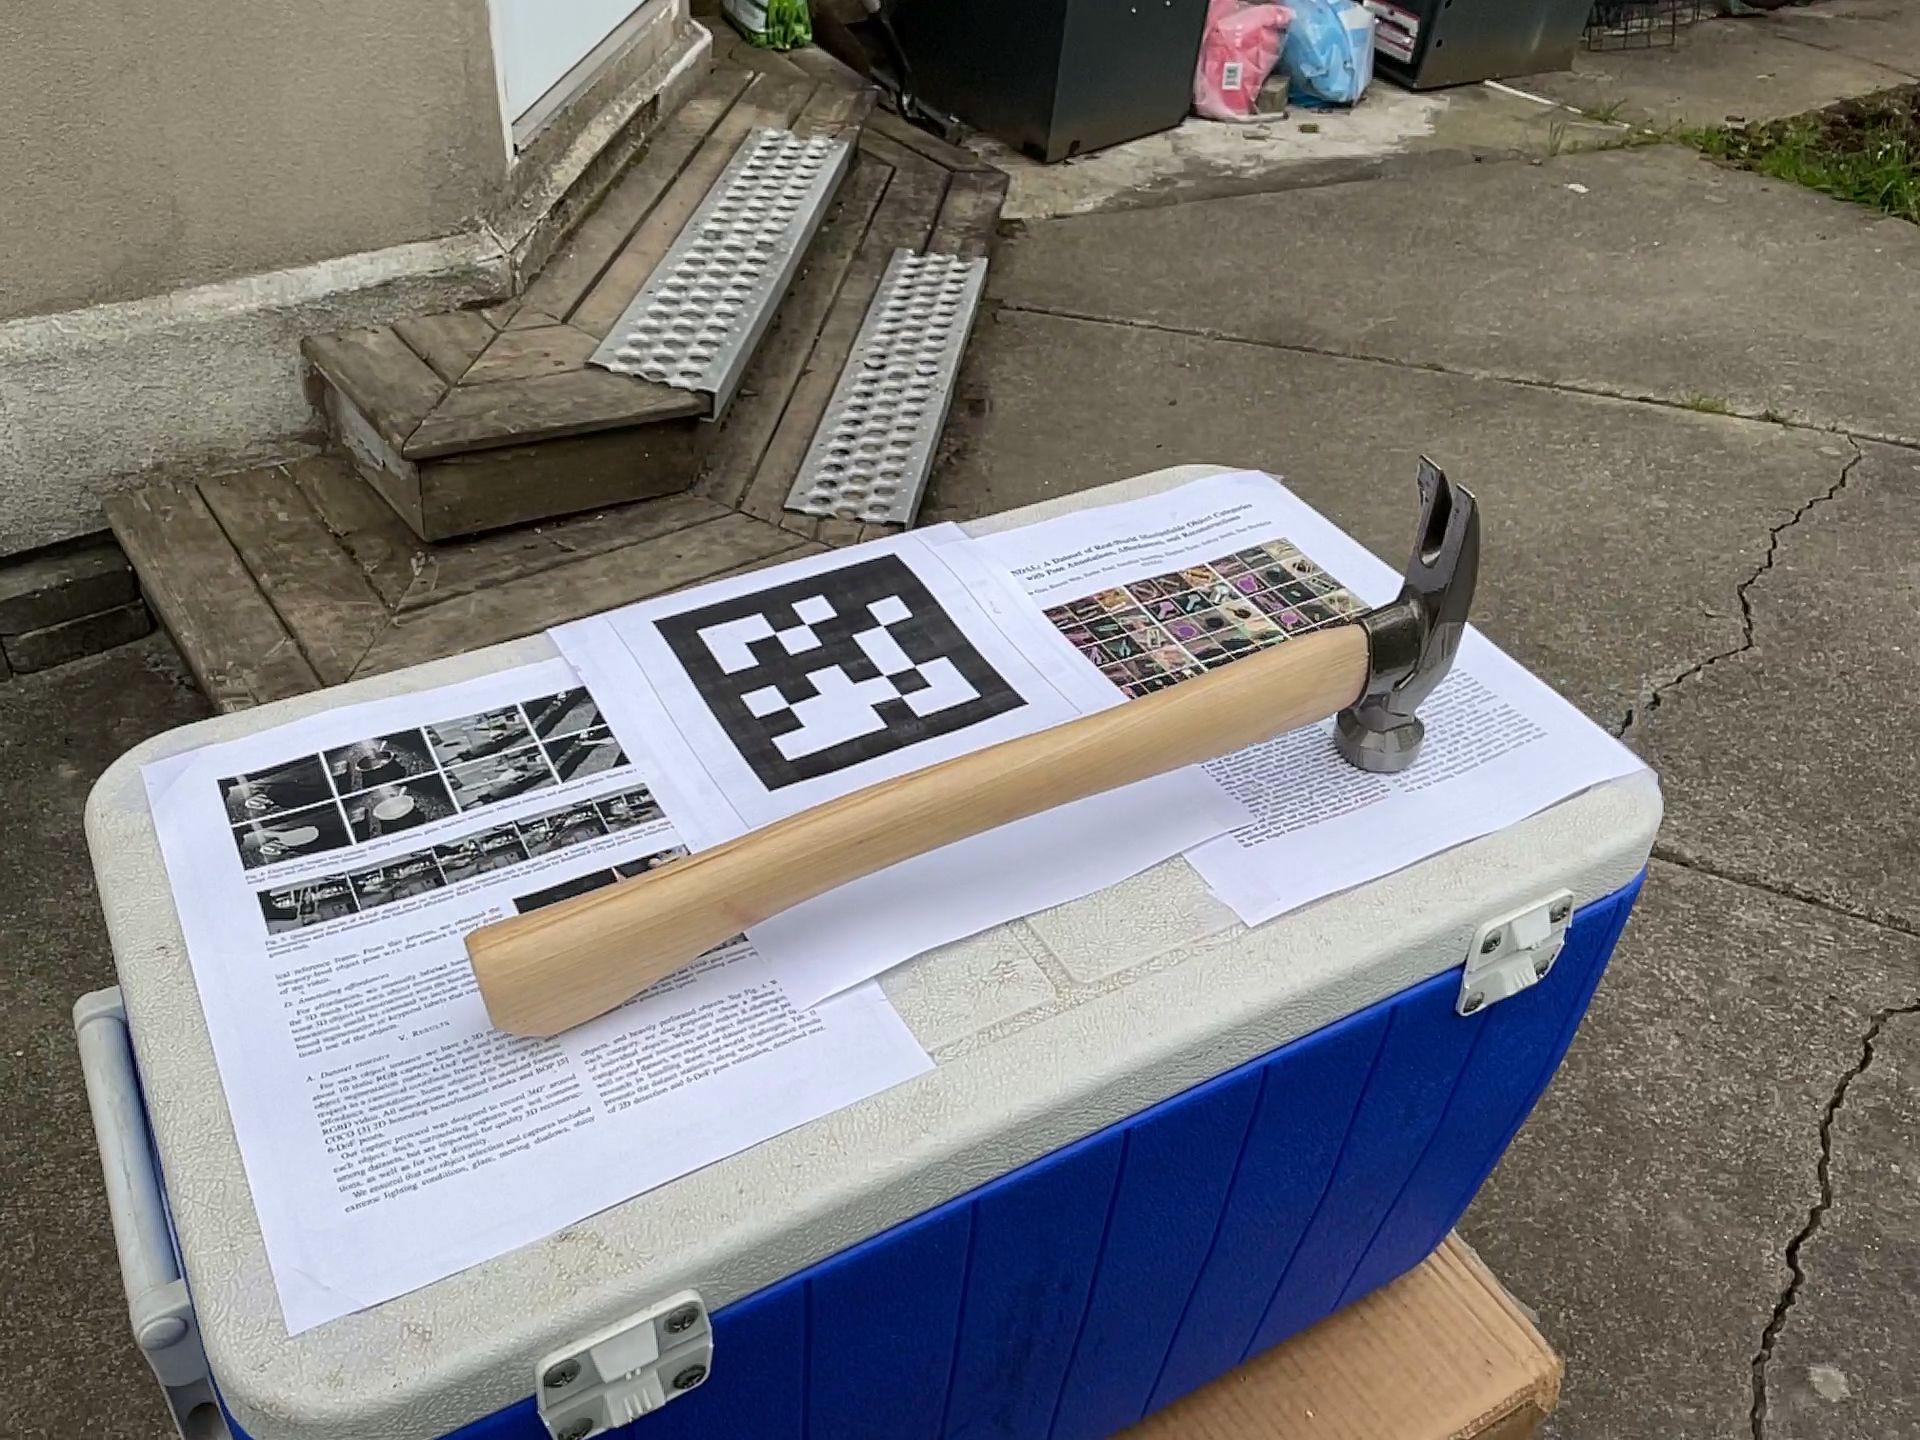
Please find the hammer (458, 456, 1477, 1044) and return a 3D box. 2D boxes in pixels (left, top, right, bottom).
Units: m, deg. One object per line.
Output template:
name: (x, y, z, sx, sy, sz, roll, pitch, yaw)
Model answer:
hammer: (0.018, 0.018, 0.599, 0.410, 0.146, 0.038, -19, 46, -19)
